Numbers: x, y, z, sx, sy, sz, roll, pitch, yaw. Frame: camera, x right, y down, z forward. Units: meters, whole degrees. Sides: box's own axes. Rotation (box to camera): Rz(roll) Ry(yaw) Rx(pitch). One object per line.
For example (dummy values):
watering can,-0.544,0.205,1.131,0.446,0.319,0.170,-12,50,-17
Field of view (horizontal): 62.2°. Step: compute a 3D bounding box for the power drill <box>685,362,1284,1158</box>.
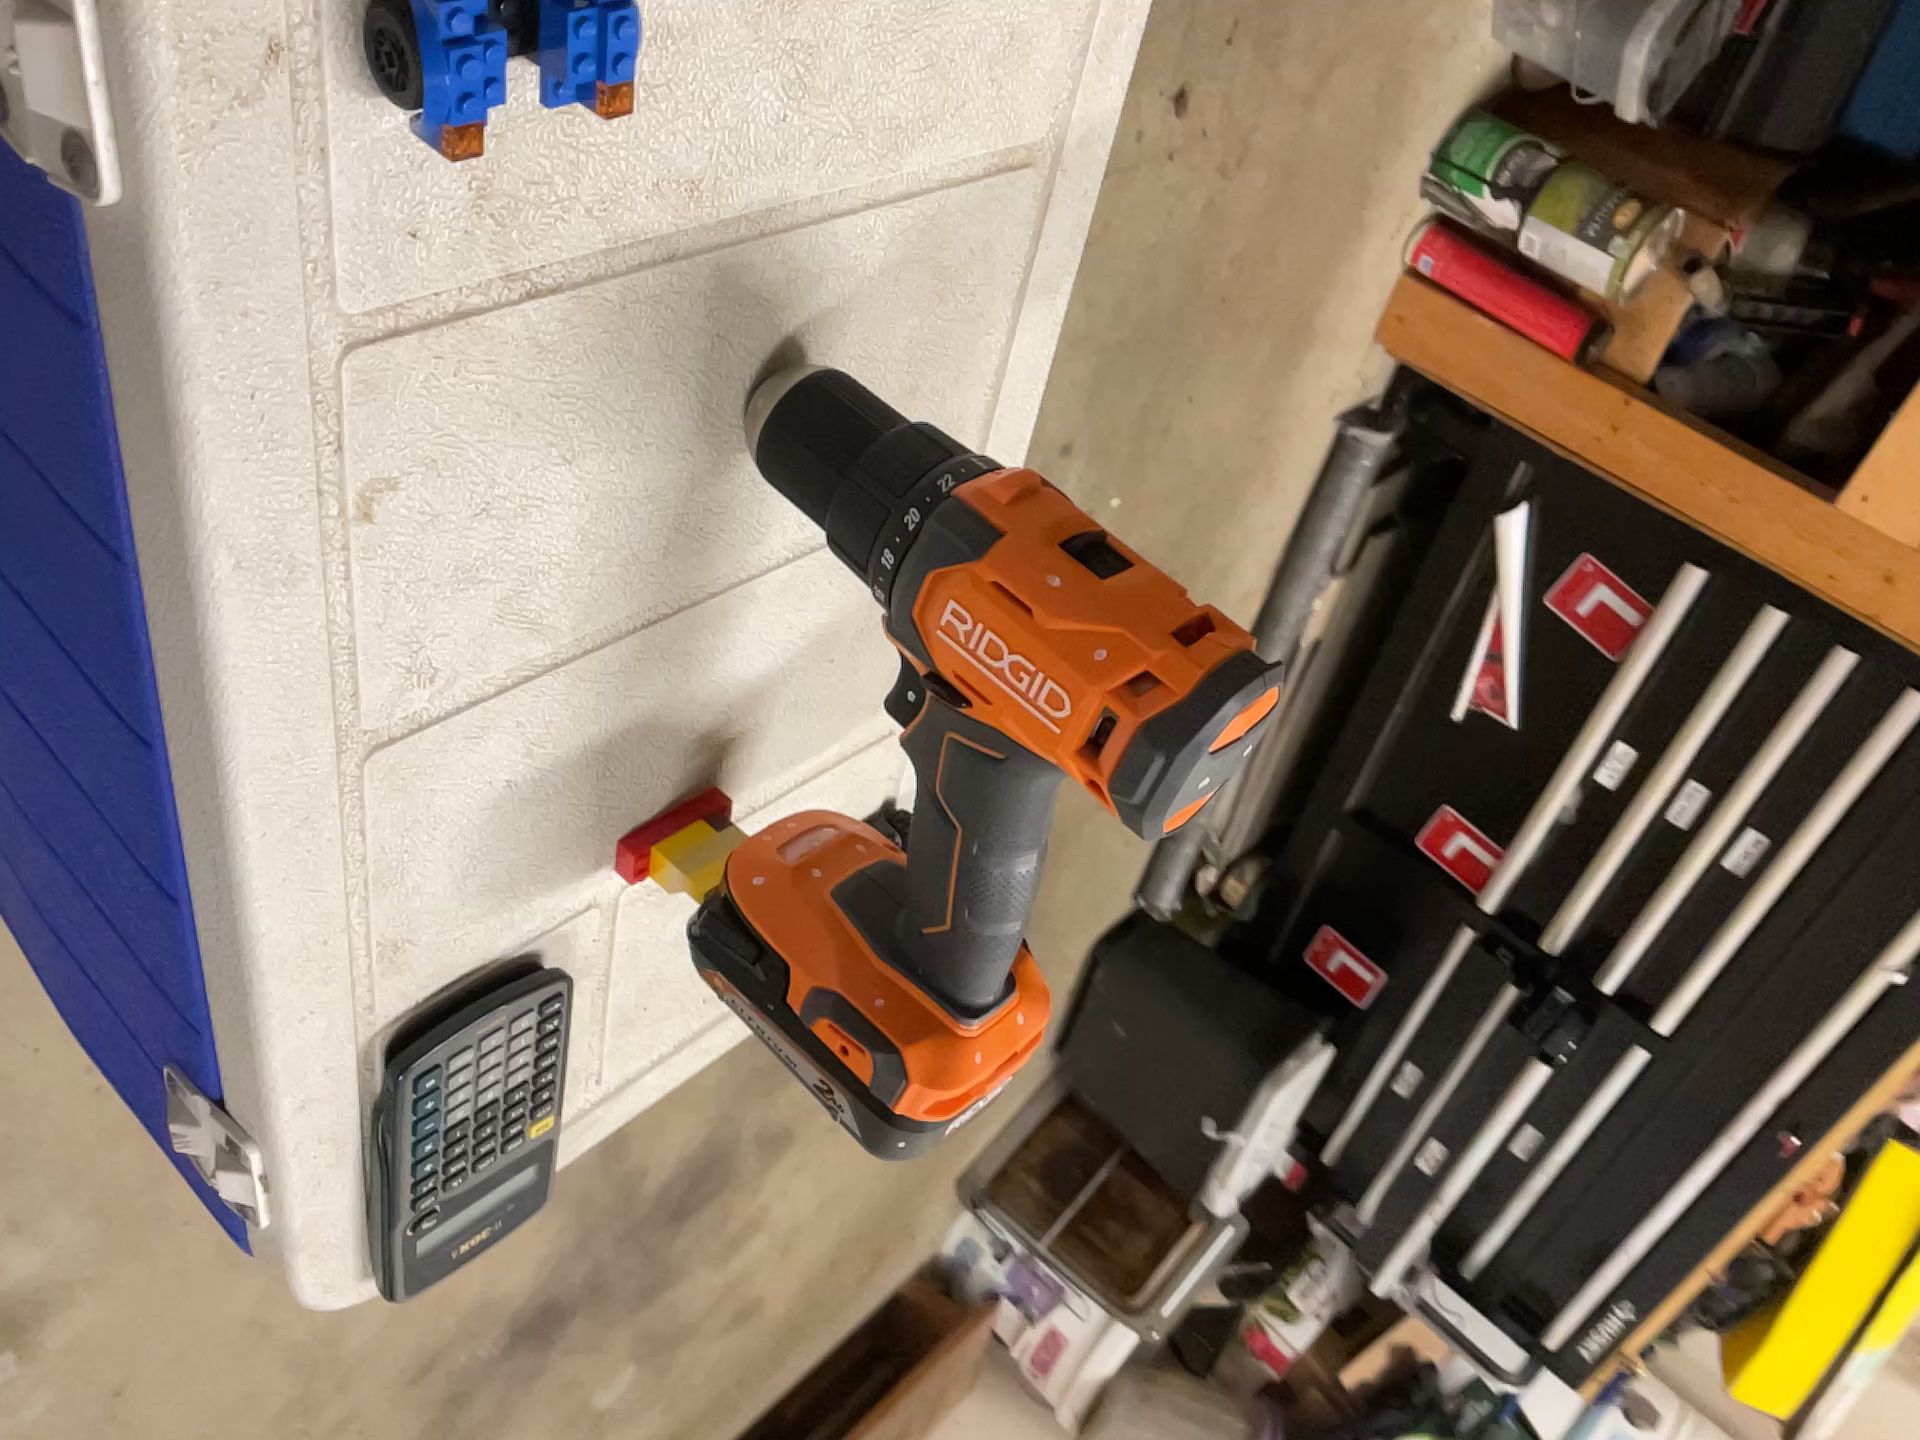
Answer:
power drill,-0.020,0.013,0.515,0.084,0.185,0.225,-29,153,-46
